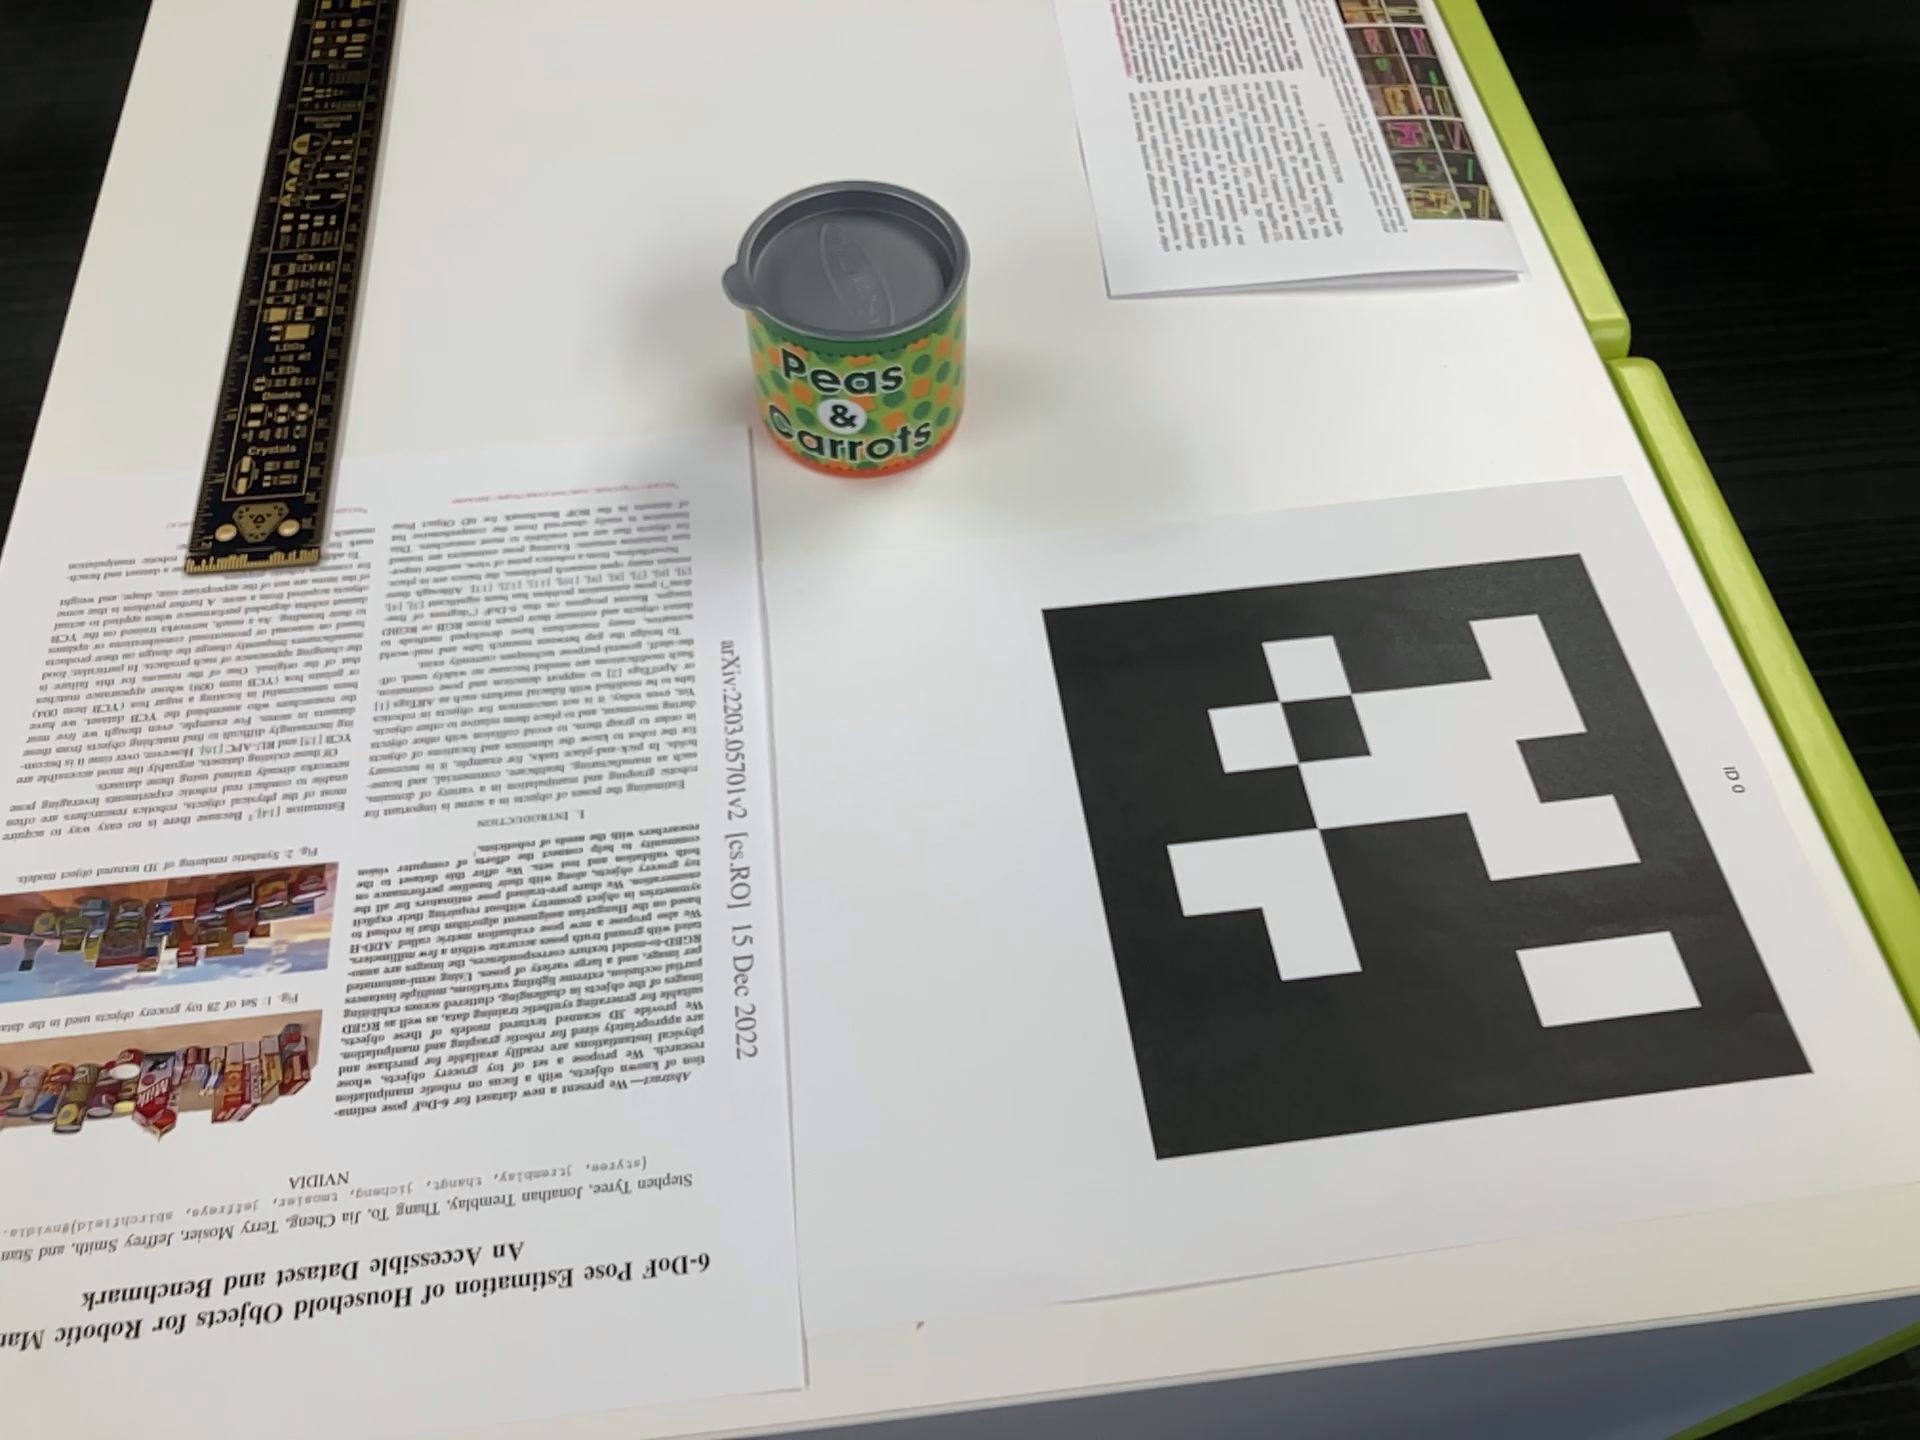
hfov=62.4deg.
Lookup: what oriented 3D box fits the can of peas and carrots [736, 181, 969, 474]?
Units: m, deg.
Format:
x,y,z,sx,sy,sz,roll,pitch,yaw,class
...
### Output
x,y,z,sx,sy,sz,roll,pitch,yaw,class
-0.031,-0.115,0.475,0.071,0.059,0.071,0,57,-1,can of peas and carrots
